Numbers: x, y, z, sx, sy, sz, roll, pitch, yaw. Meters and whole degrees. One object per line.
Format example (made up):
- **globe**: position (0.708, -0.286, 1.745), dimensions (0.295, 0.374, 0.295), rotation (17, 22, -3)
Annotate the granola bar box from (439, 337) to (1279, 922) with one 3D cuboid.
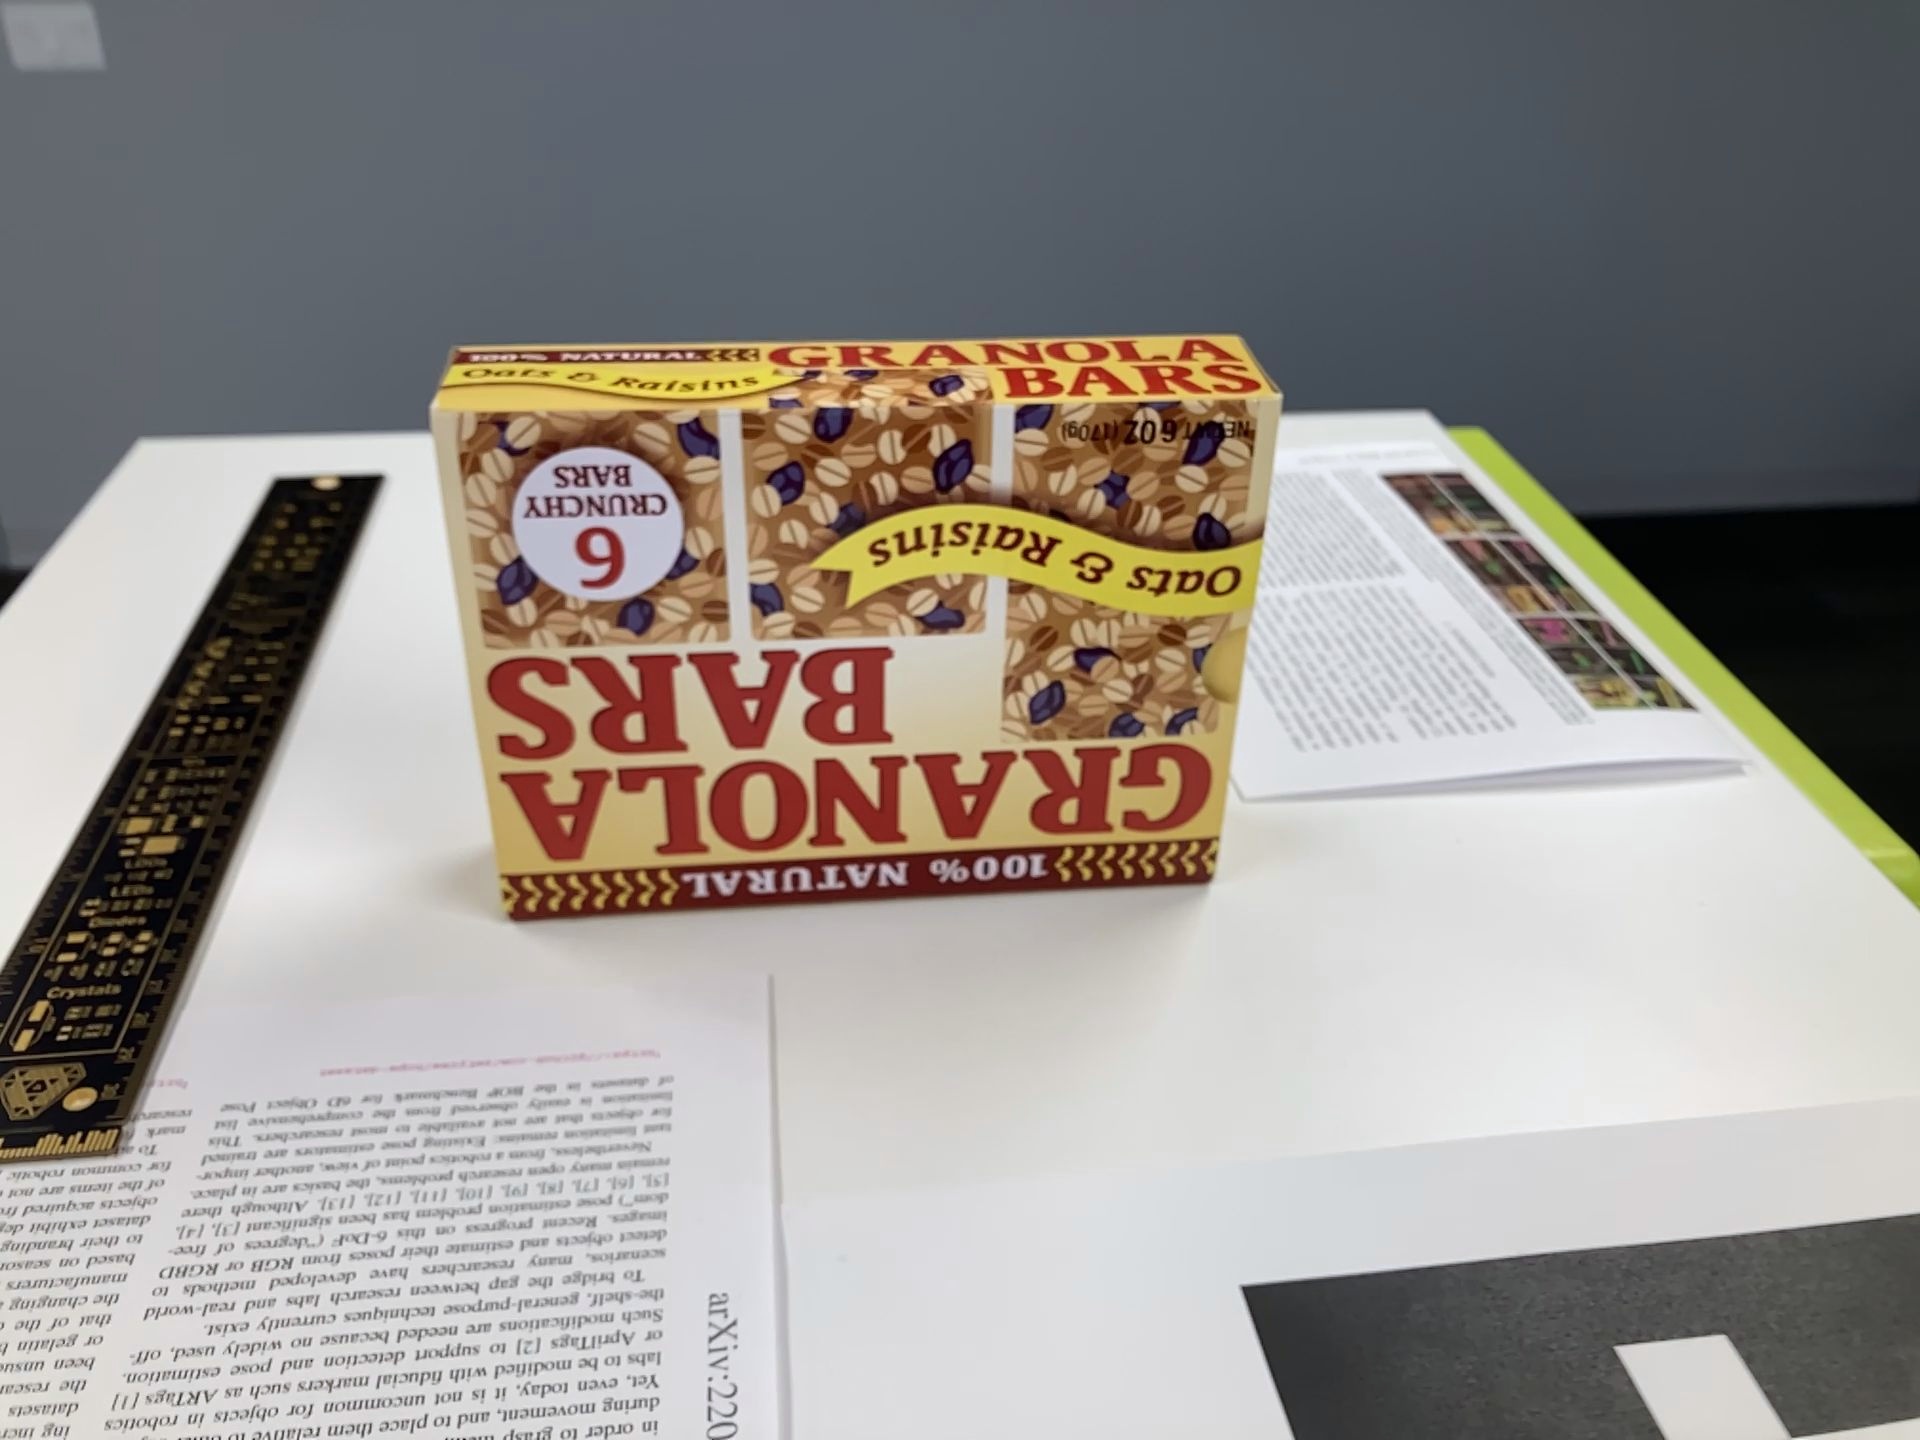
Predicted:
- **granola bar box**: position (-0.021, -0.018, 0.355), dimensions (0.165, 0.124, 0.039), rotation (-3, 32, -6)
